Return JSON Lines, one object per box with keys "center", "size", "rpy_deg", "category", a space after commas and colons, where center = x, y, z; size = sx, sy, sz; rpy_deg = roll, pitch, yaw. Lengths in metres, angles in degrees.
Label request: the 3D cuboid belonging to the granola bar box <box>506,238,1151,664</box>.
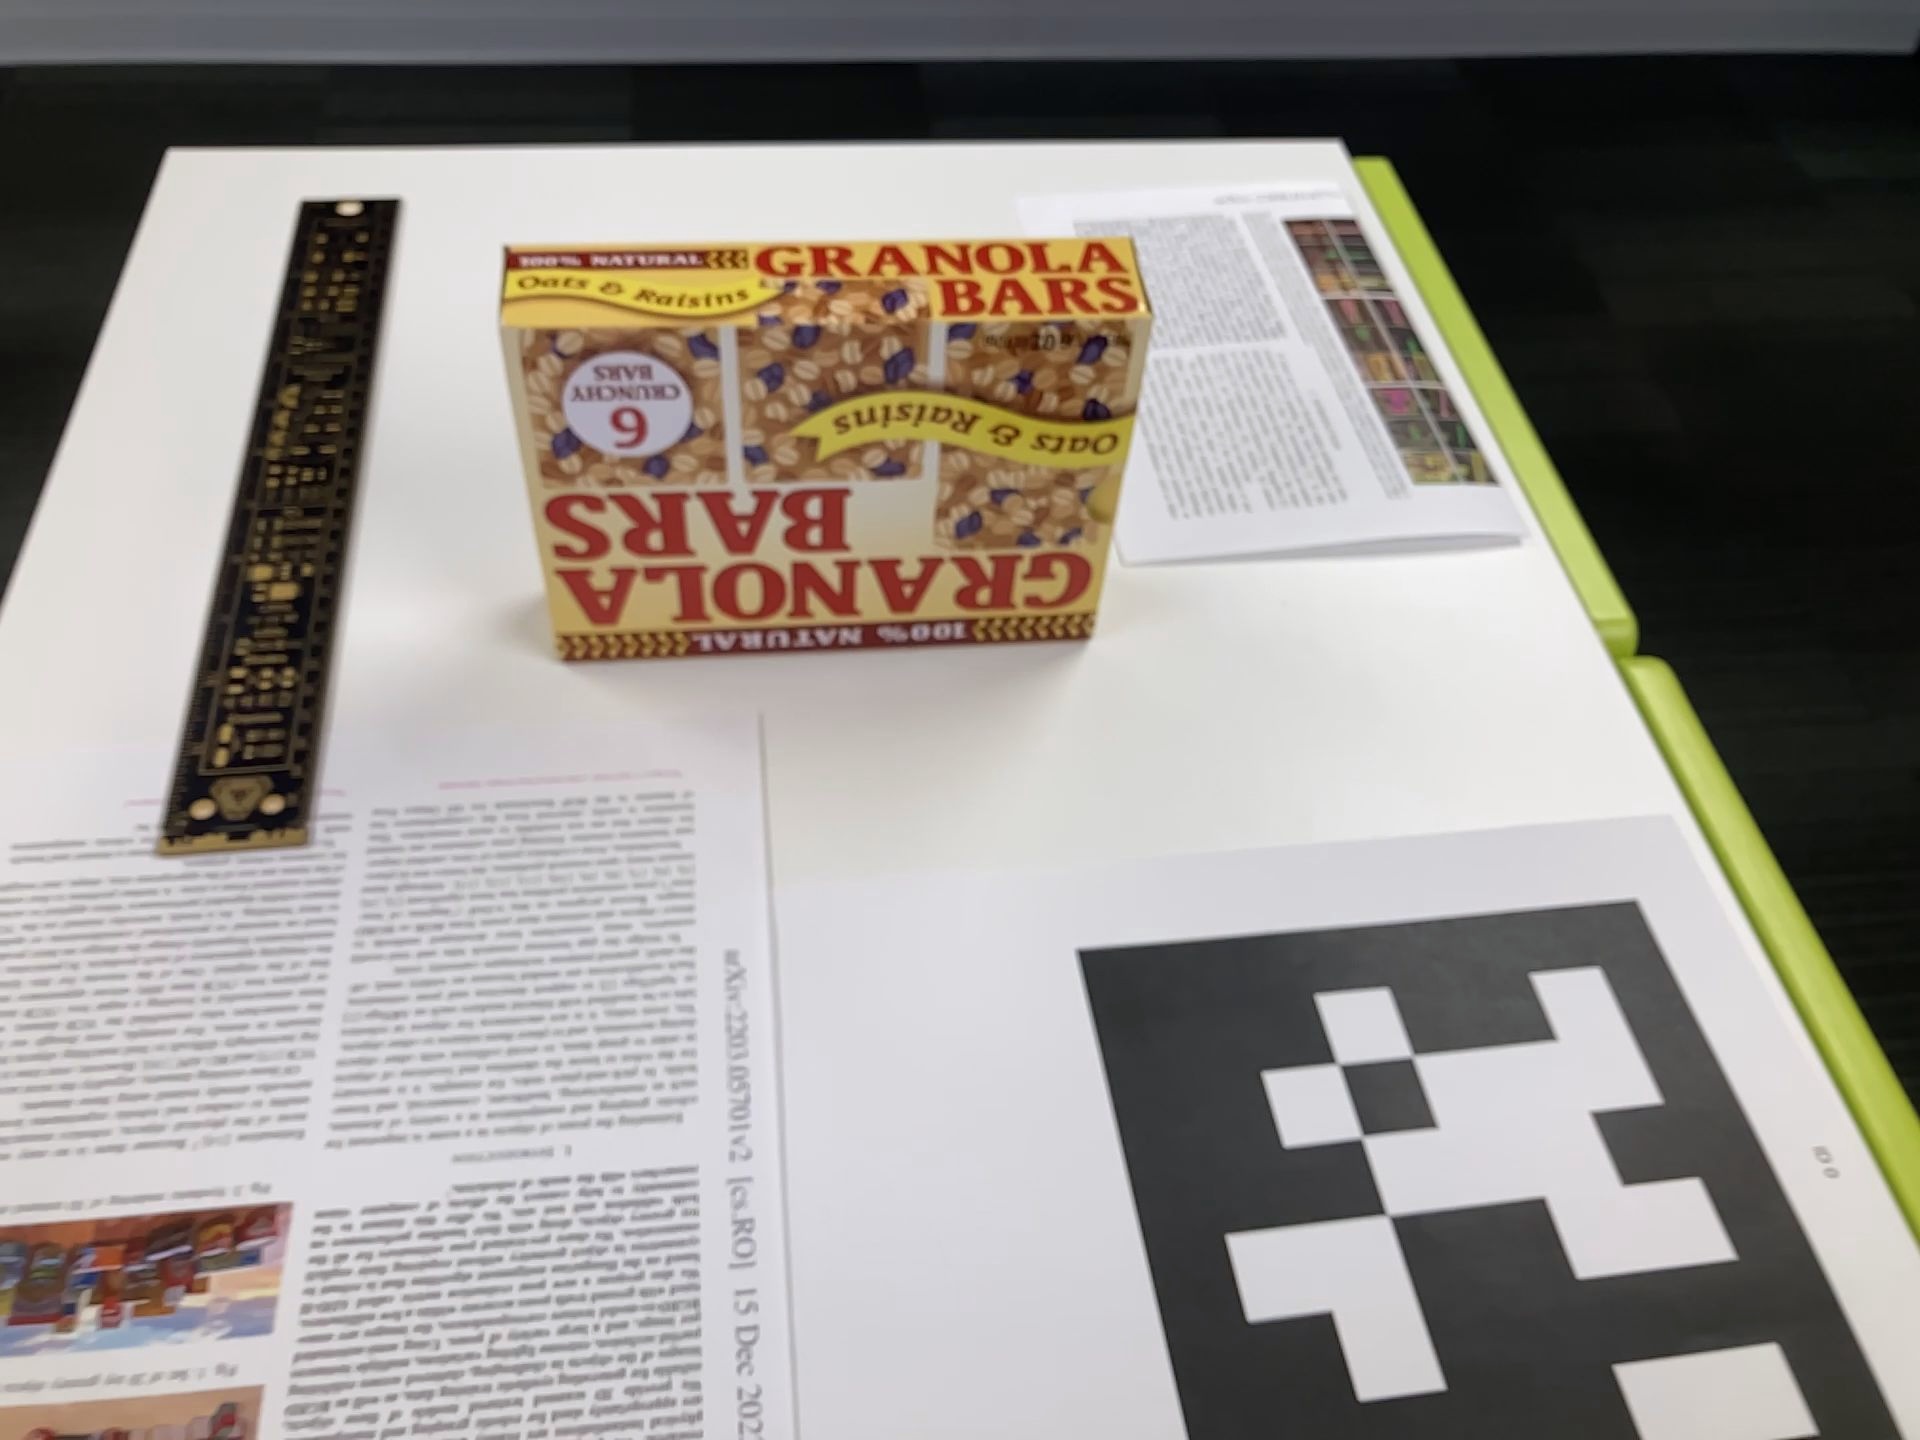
{"center": [-0.037, -0.074, 0.459], "size": [0.165, 0.124, 0.039], "rpy_deg": [-3, 50, -7], "category": "granola bar box"}
